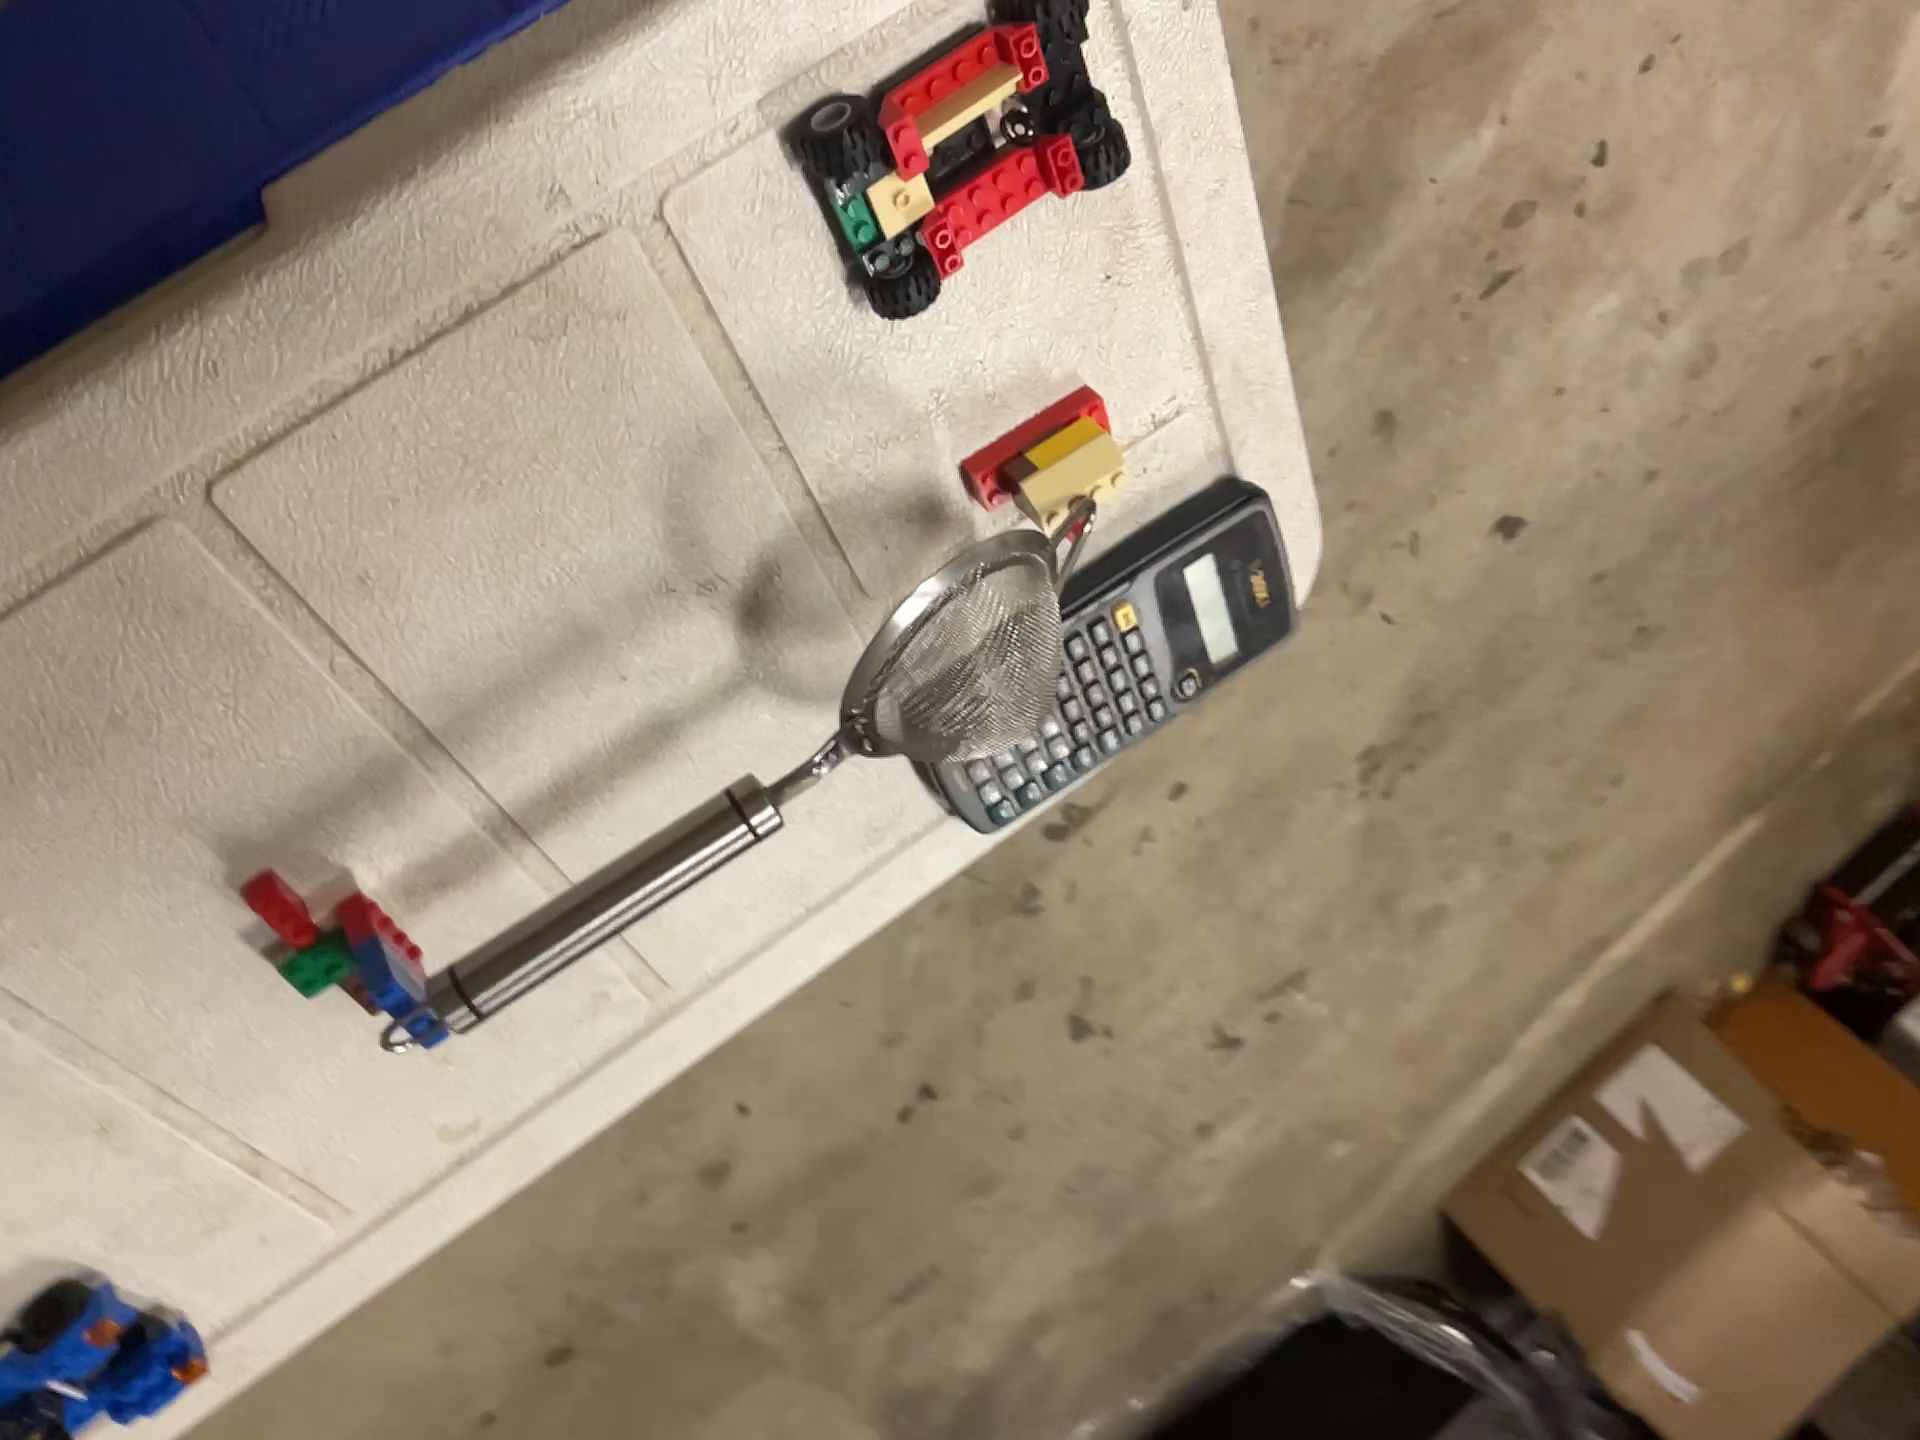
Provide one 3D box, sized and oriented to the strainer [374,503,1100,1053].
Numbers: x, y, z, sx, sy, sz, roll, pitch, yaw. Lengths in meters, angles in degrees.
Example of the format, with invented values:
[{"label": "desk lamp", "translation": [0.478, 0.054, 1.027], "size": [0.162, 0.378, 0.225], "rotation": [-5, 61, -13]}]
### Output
[{"label": "strainer", "translation": [-0.053, 0.023, 0.459], "size": [0.258, 0.050, 0.086], "rotation": [-33, 154, -7]}]
